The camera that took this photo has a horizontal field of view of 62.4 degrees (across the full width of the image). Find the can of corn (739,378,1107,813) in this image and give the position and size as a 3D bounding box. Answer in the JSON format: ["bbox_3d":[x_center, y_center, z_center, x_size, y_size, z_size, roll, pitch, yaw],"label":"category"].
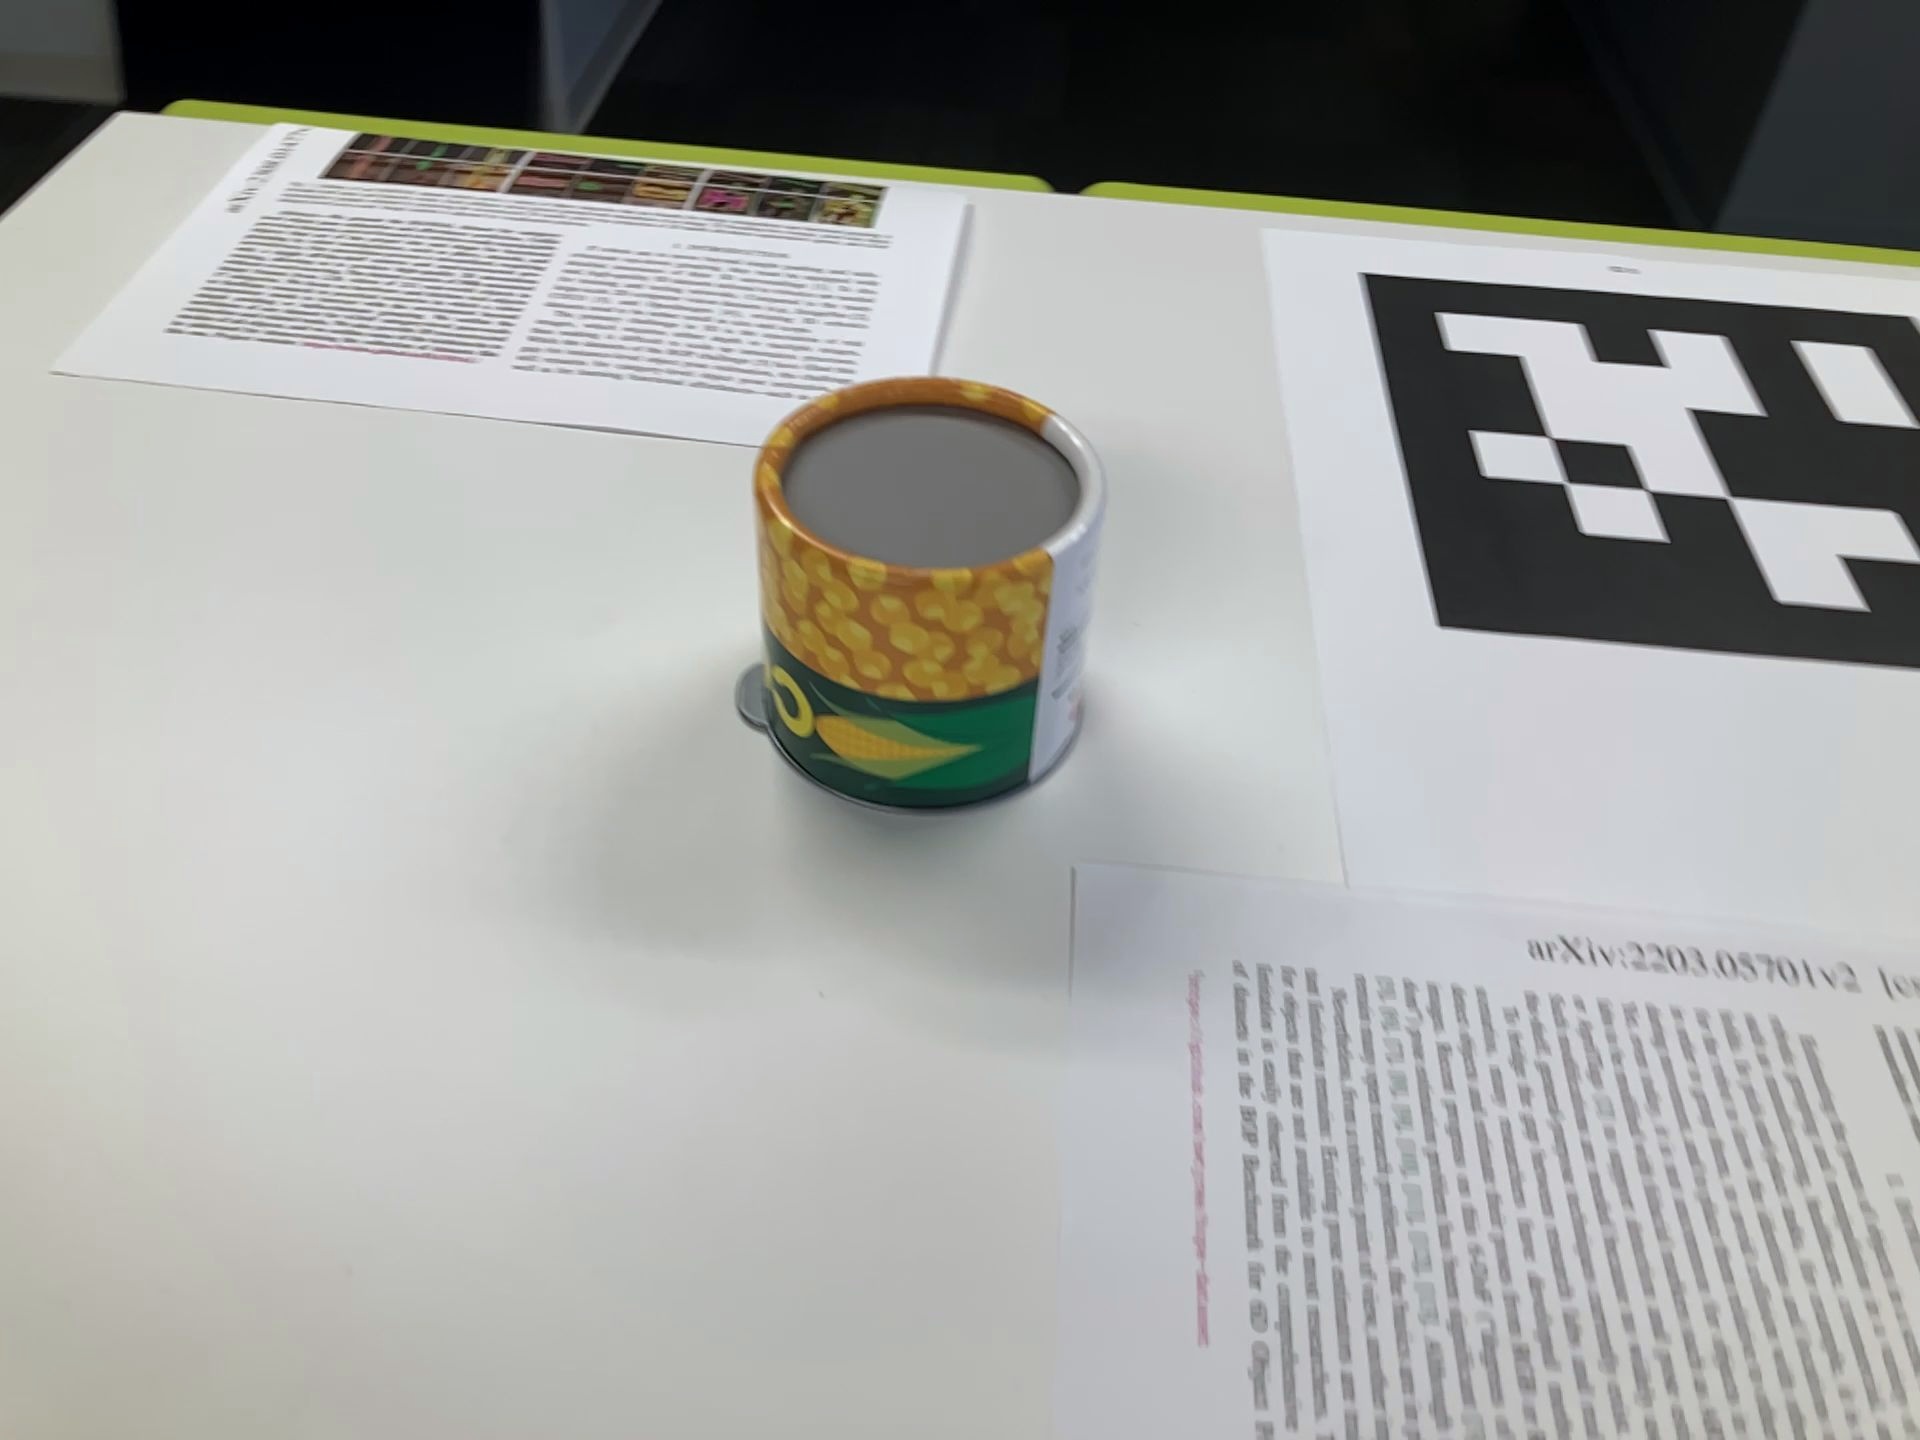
[{"bbox_3d":[-0.009,-0.026,0.311,0.071,0.058,0.071,2,44,-2],"label":"can of corn"}]
